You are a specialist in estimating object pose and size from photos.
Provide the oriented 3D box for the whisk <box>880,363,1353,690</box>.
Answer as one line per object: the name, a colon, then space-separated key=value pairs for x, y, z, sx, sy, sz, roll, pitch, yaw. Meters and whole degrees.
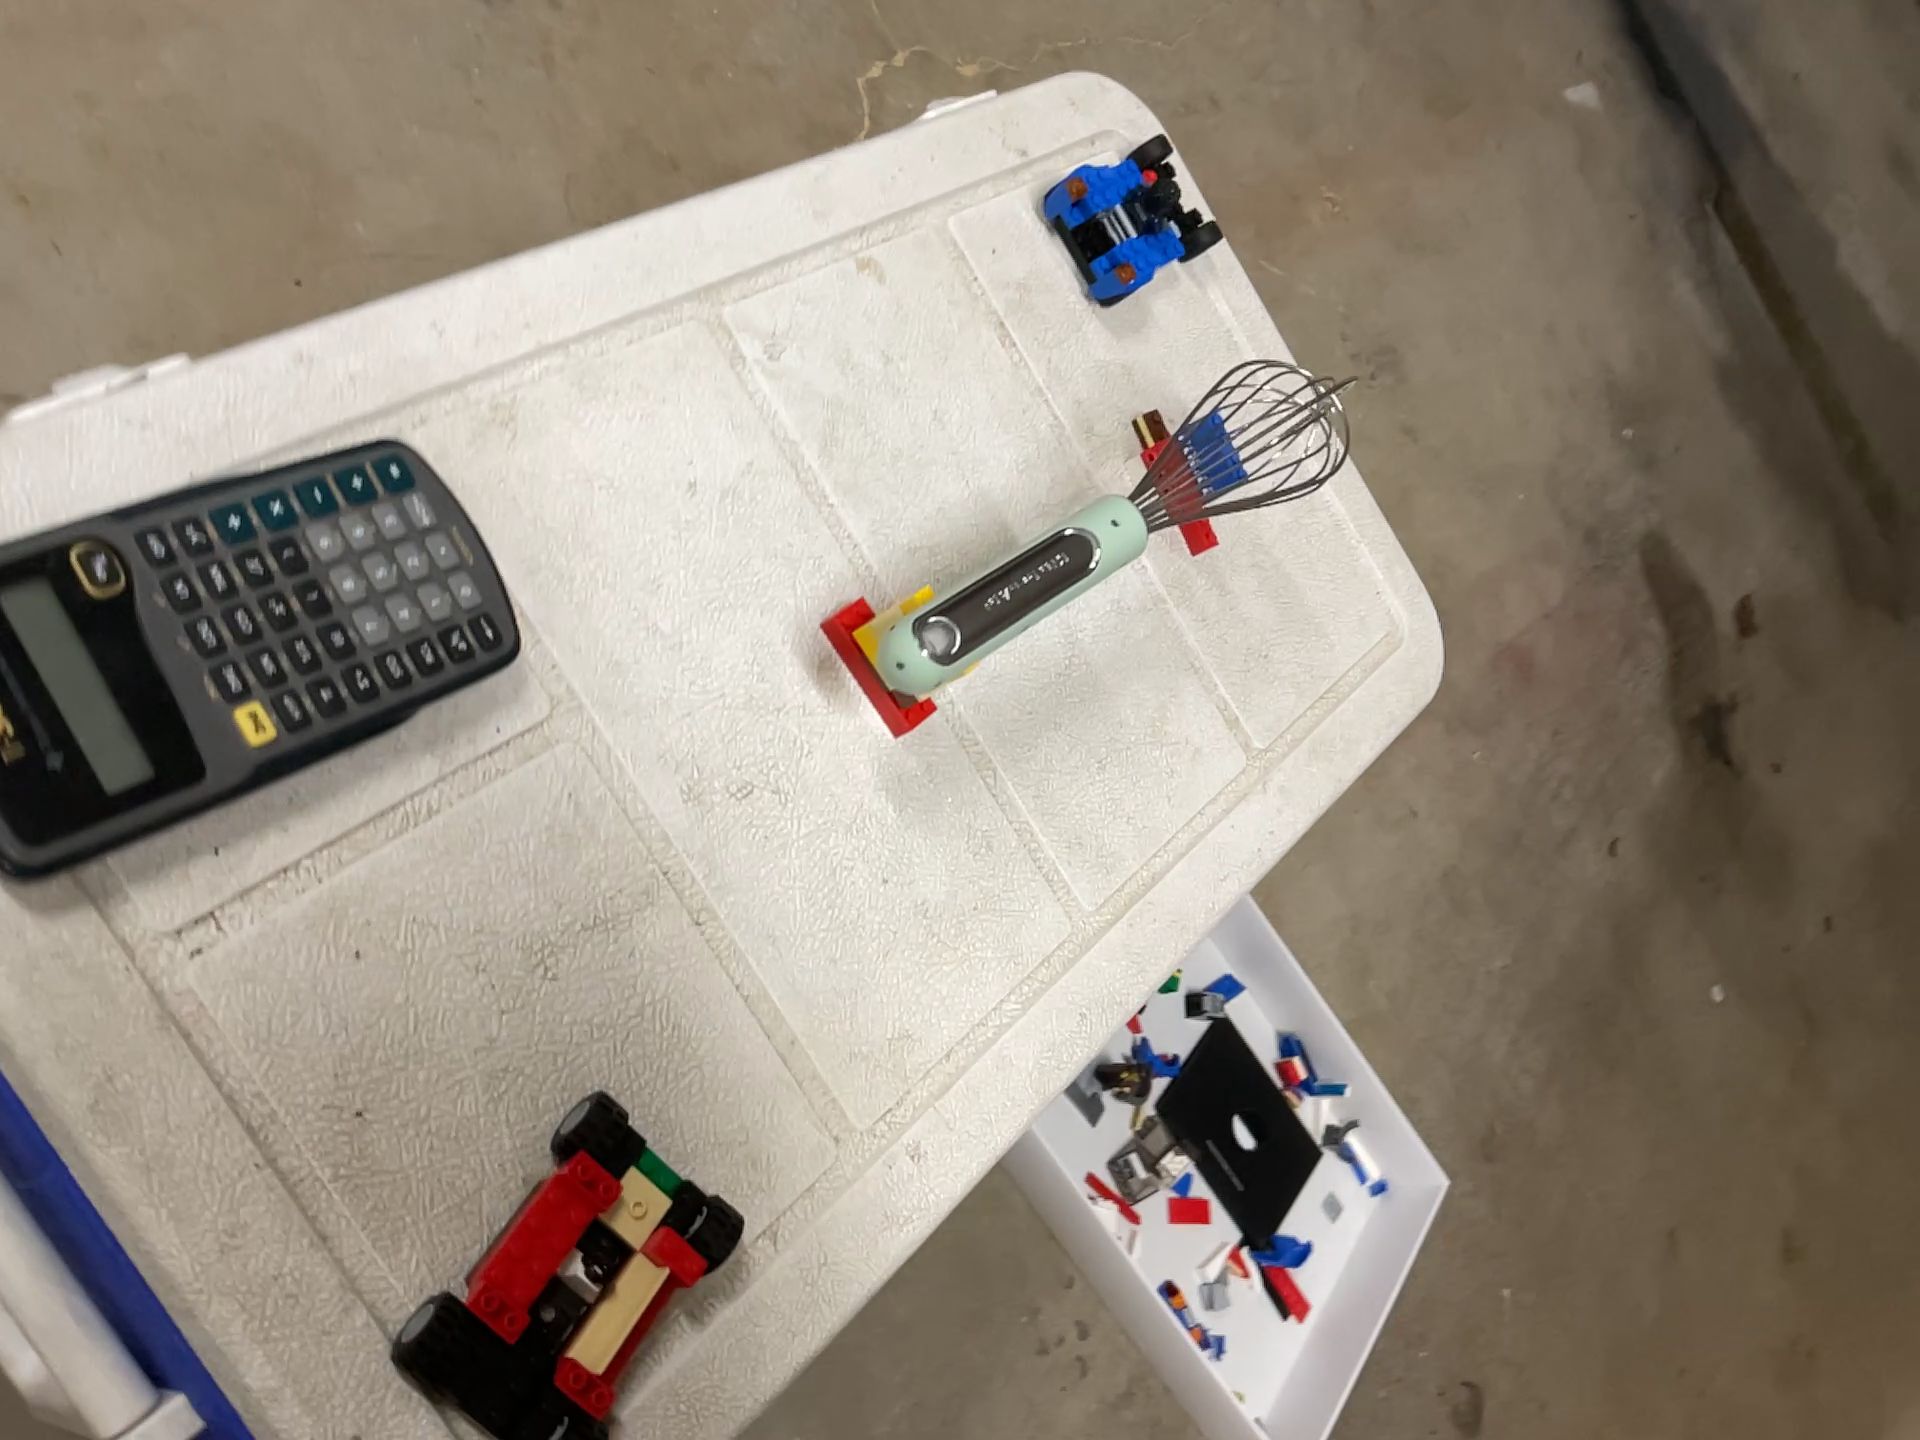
whisk: x=0.063 y=-0.073 z=0.575 sx=0.246 sy=0.059 sz=0.058 roll=-34 pitch=89 yaw=-34
